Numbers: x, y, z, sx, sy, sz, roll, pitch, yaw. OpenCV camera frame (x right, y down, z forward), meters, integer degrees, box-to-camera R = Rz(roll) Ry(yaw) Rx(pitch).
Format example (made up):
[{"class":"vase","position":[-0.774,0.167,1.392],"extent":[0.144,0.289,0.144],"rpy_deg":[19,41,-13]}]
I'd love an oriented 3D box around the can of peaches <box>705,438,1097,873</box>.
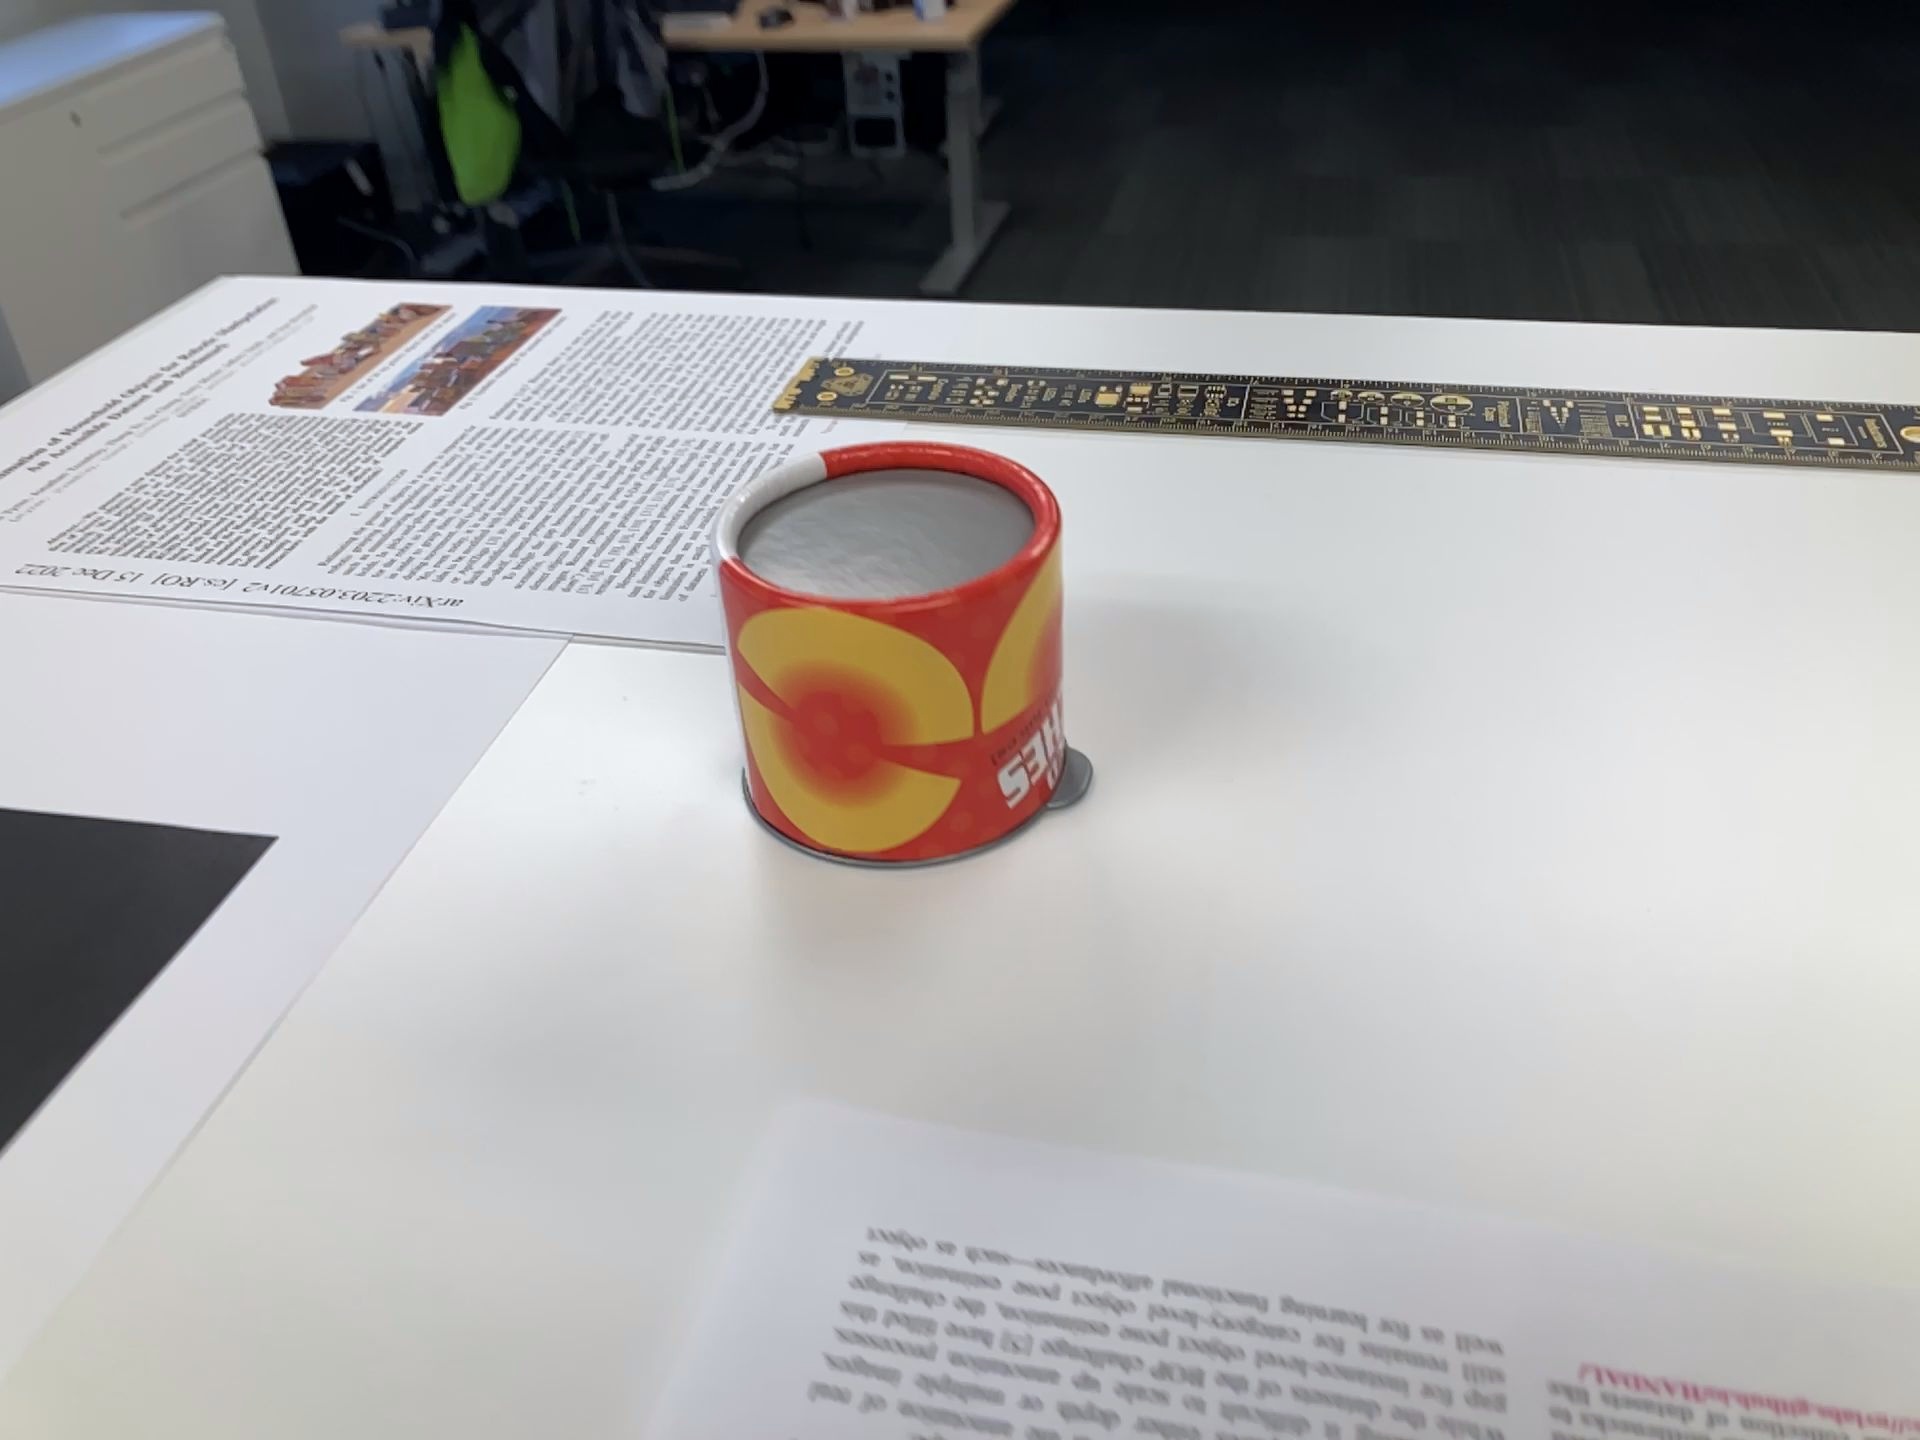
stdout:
[{"class":"can of peaches","position":[-0.010,-0.014,0.301],"extent":[0.071,0.058,0.071],"rpy_deg":[-3,34,2]}]
